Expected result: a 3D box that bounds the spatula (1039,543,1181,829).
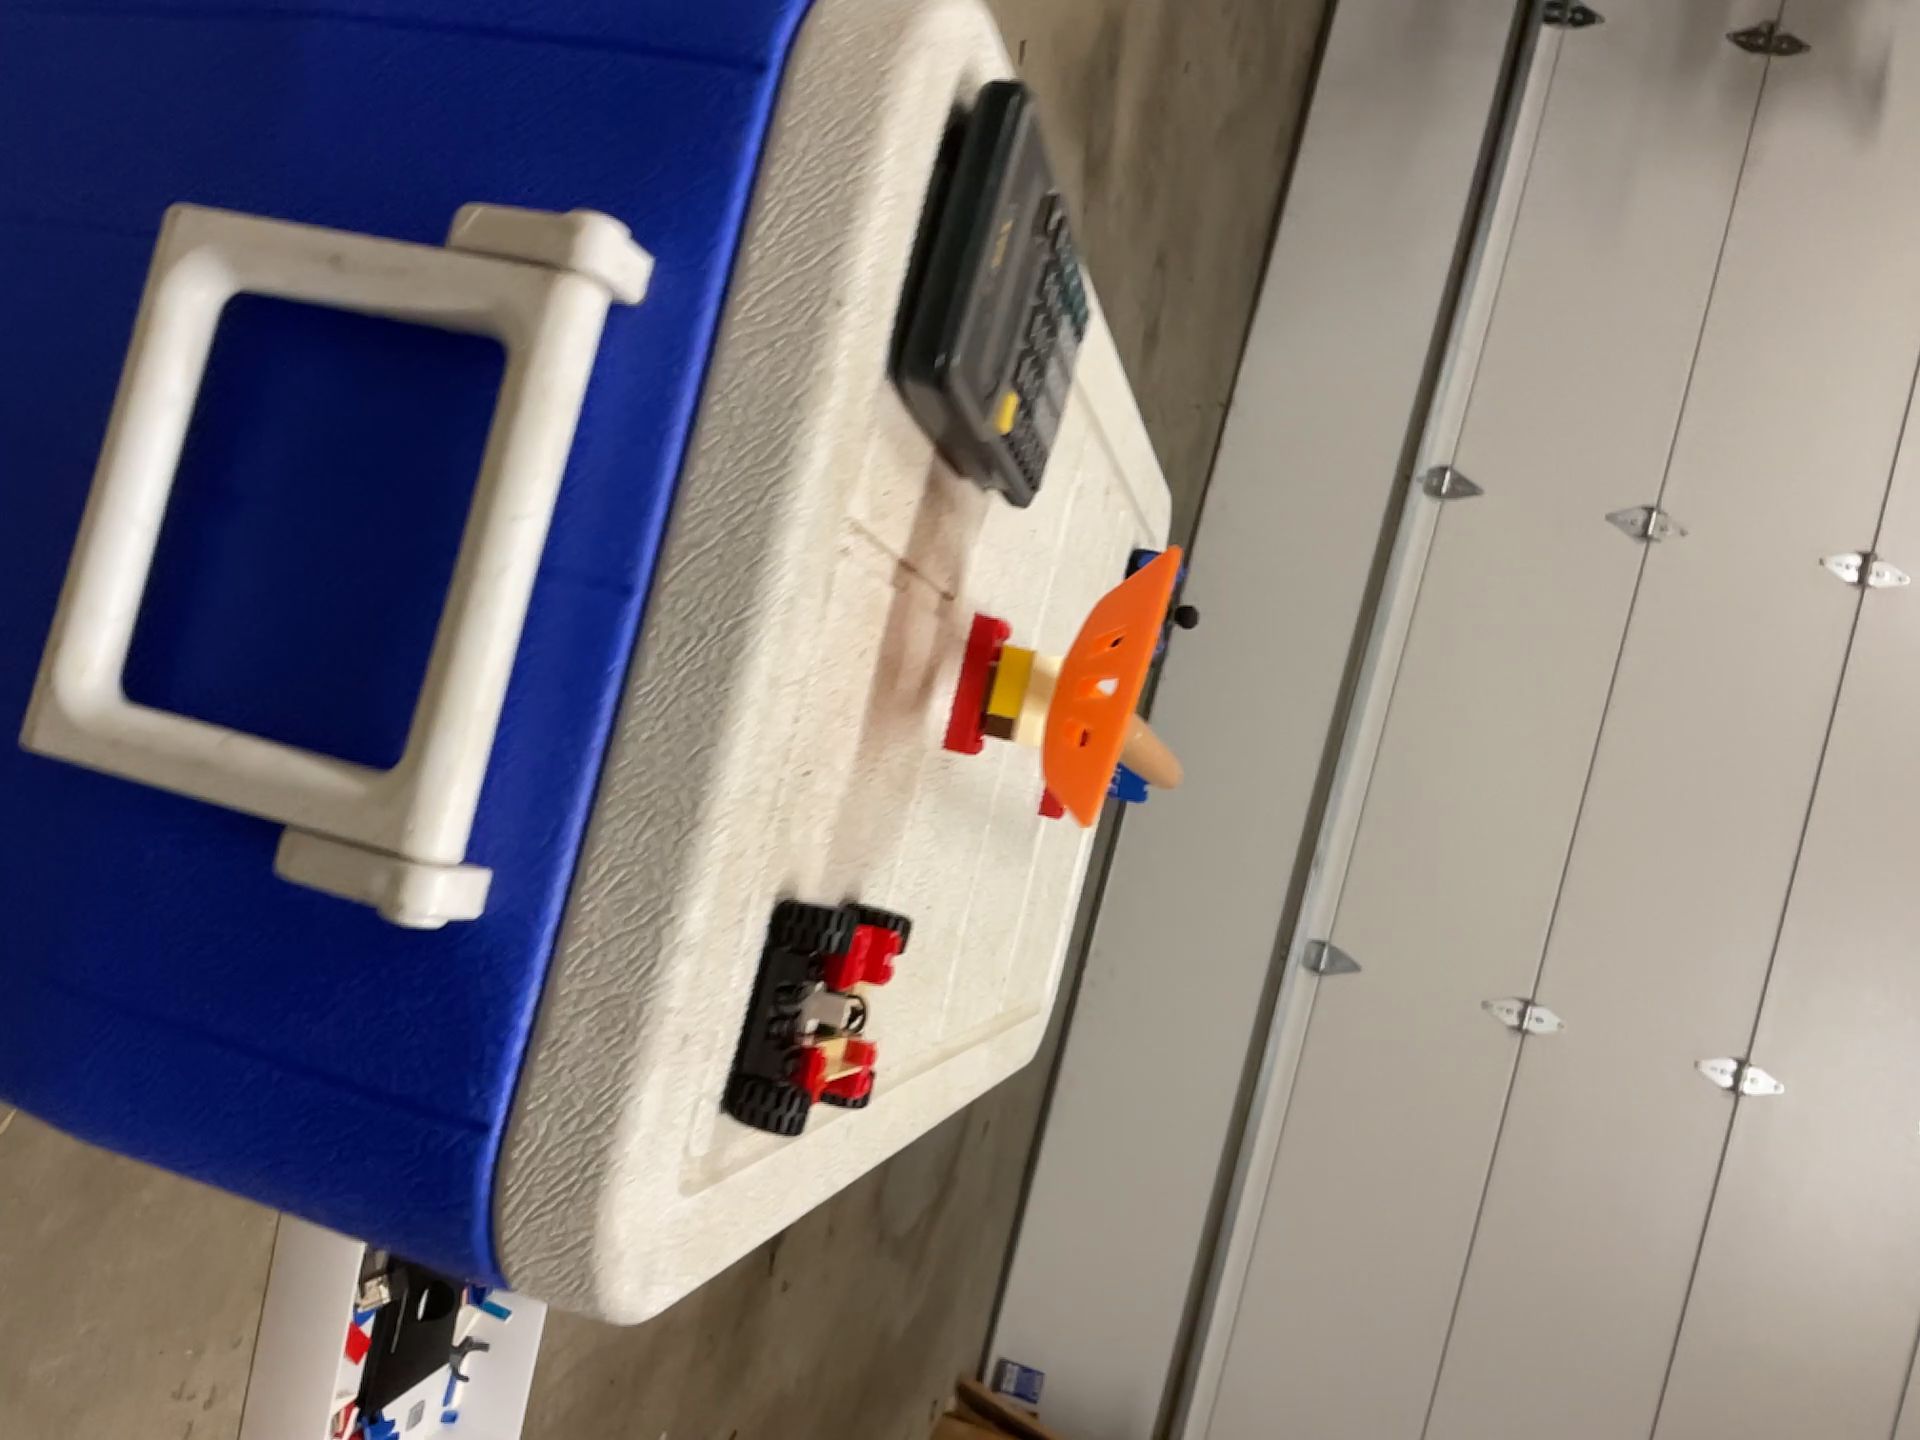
[{"bbox_3d":[0.066,0.007,0.577,0.322,0.041,0.081,30,77,-74],"label":"spatula"}]
